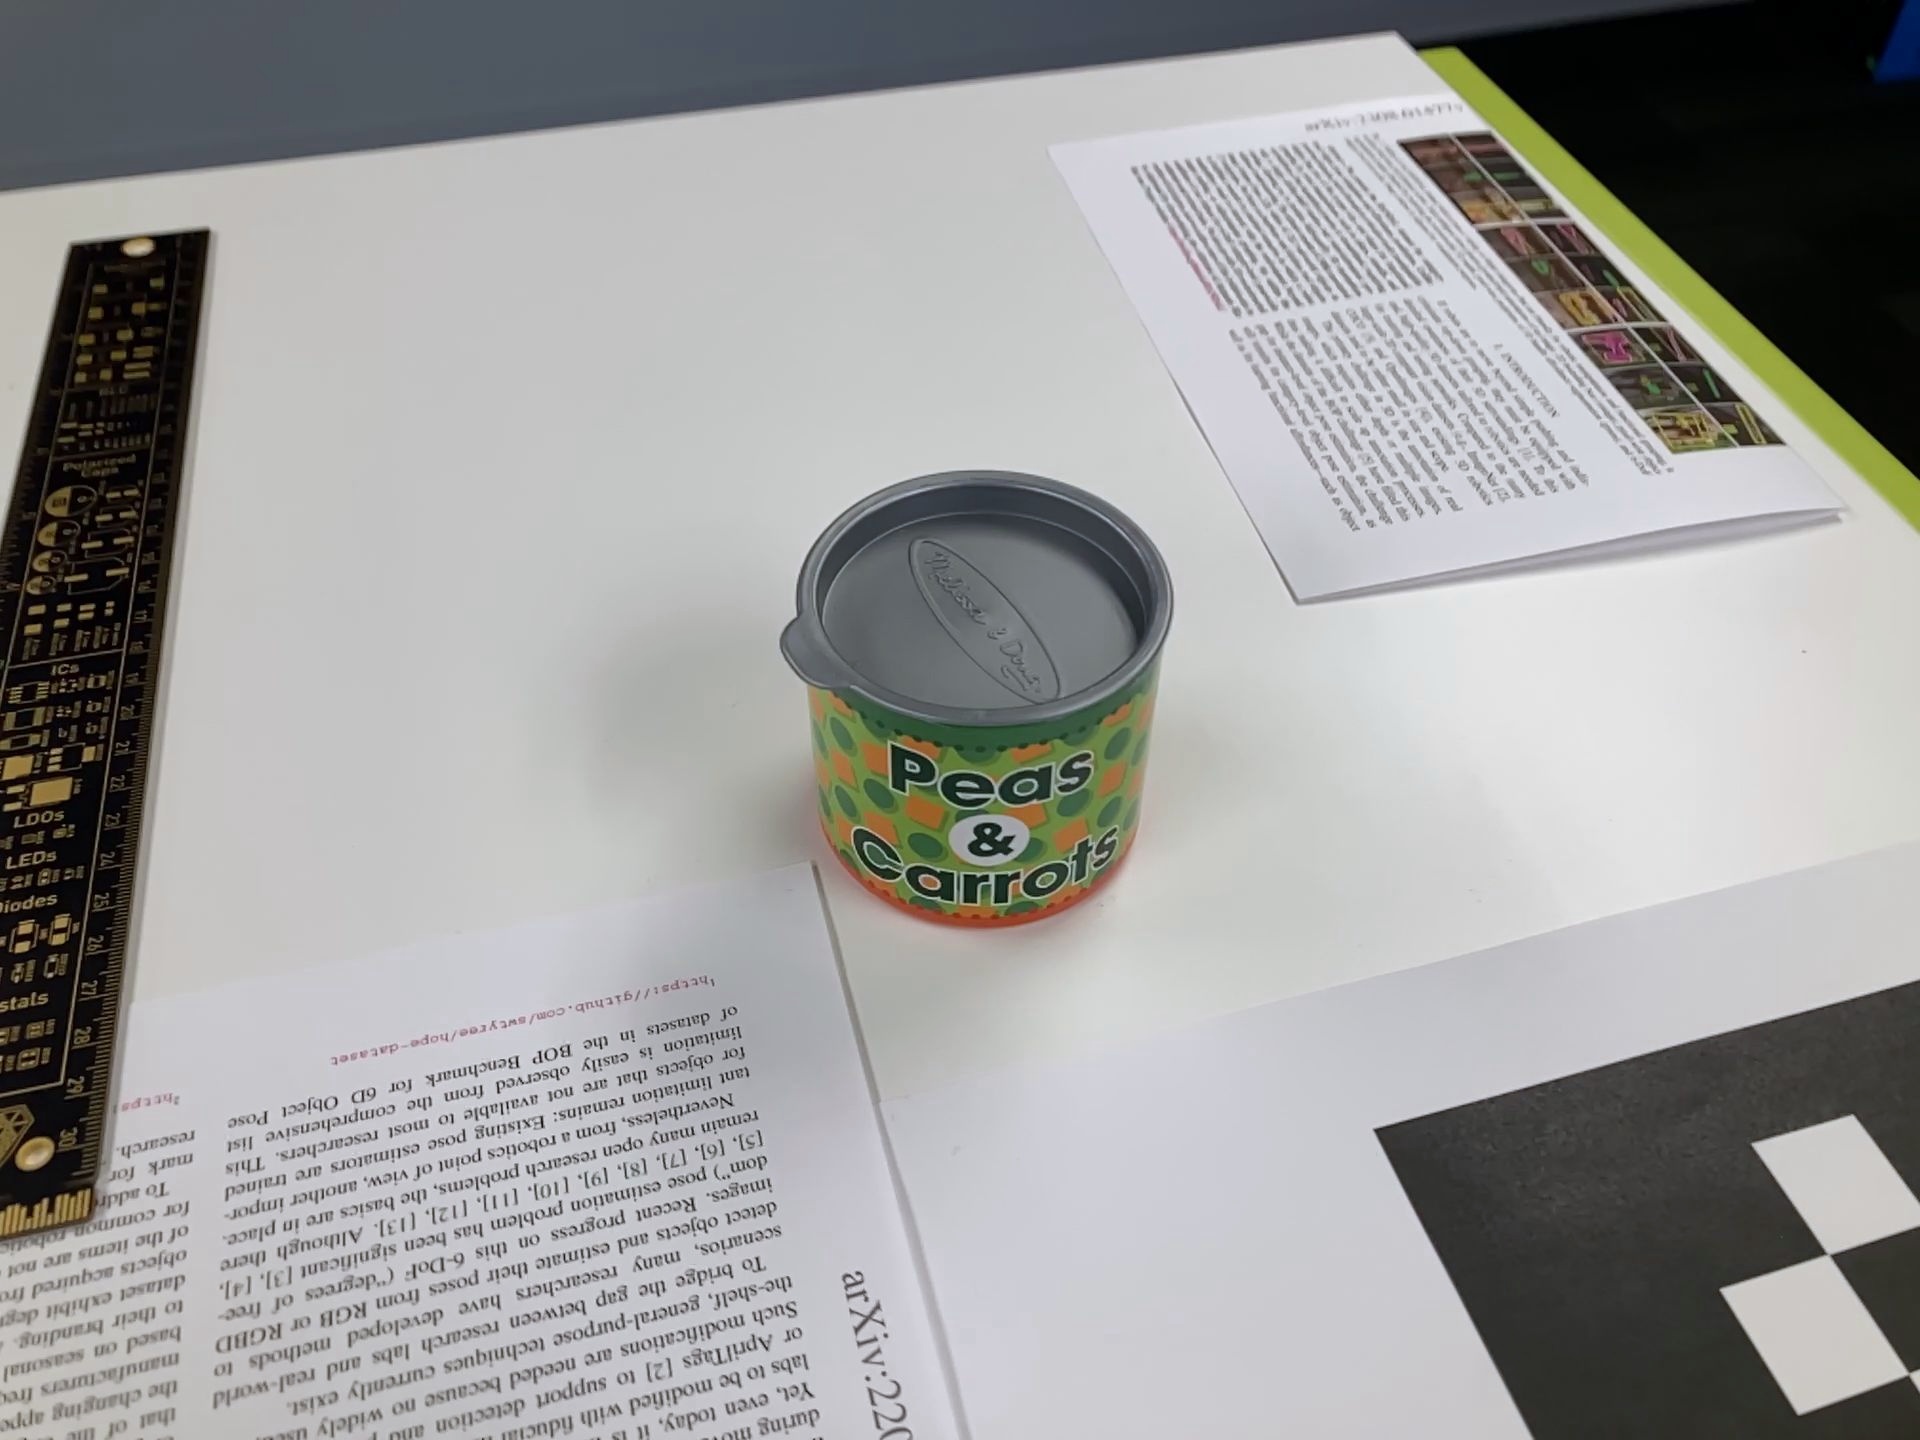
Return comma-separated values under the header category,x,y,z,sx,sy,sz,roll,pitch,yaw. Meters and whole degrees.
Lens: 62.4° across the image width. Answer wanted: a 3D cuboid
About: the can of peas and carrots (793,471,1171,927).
category,x,y,z,sx,sy,sz,roll,pitch,yaw
can of peas and carrots,0.004,-0.002,0.296,0.071,0.059,0.071,0,47,0
